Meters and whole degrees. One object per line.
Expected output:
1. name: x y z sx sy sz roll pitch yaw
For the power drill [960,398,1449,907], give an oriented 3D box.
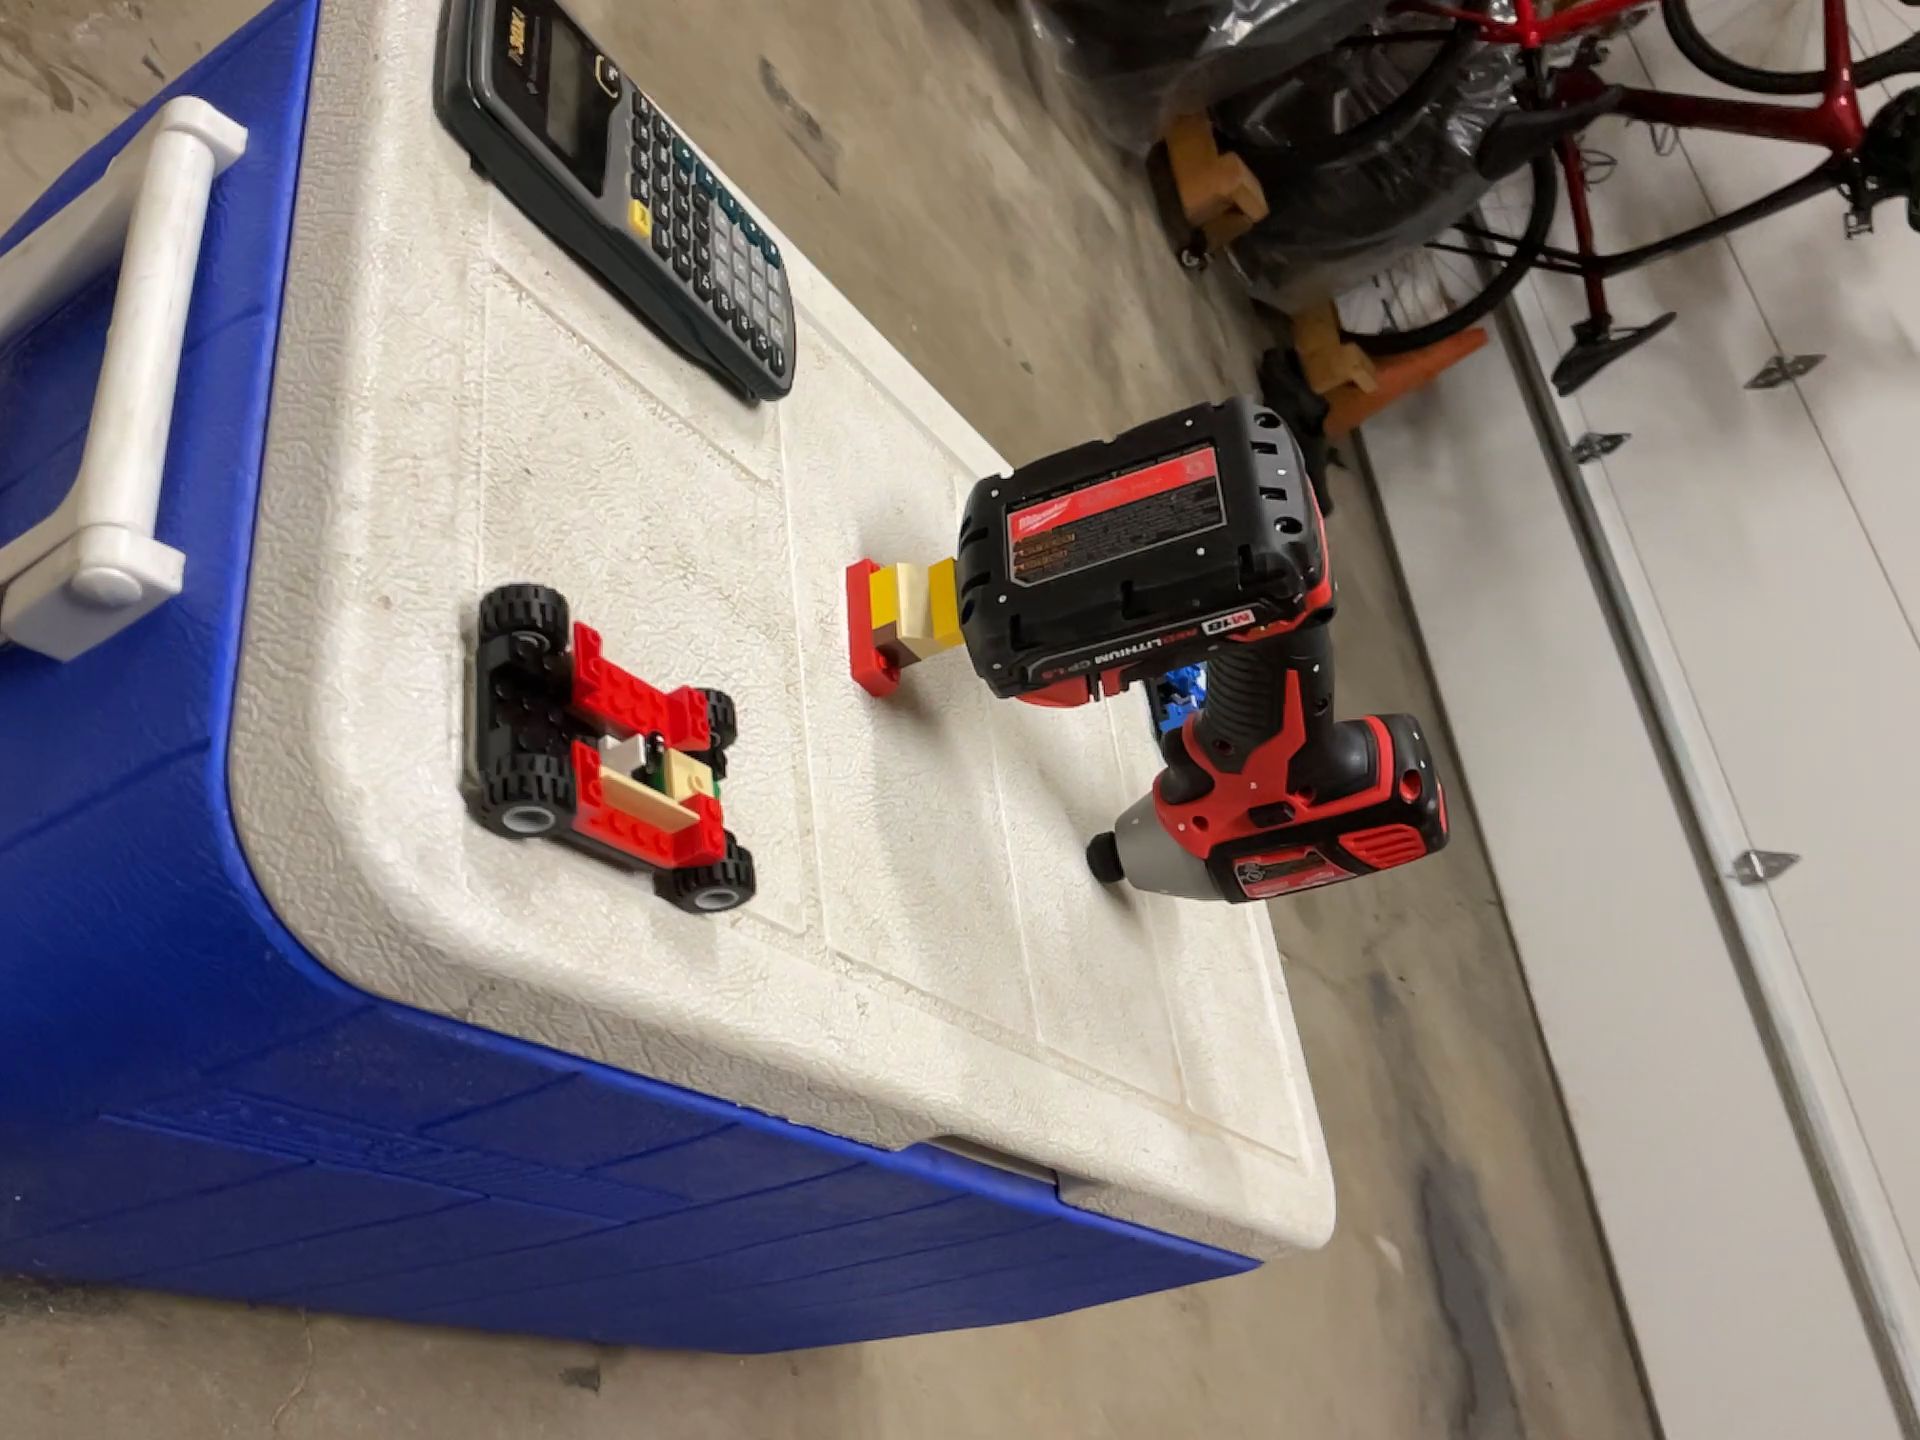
1. power drill: 0.088 -0.003 0.589 0.219 0.143 0.079 53 27 -46
